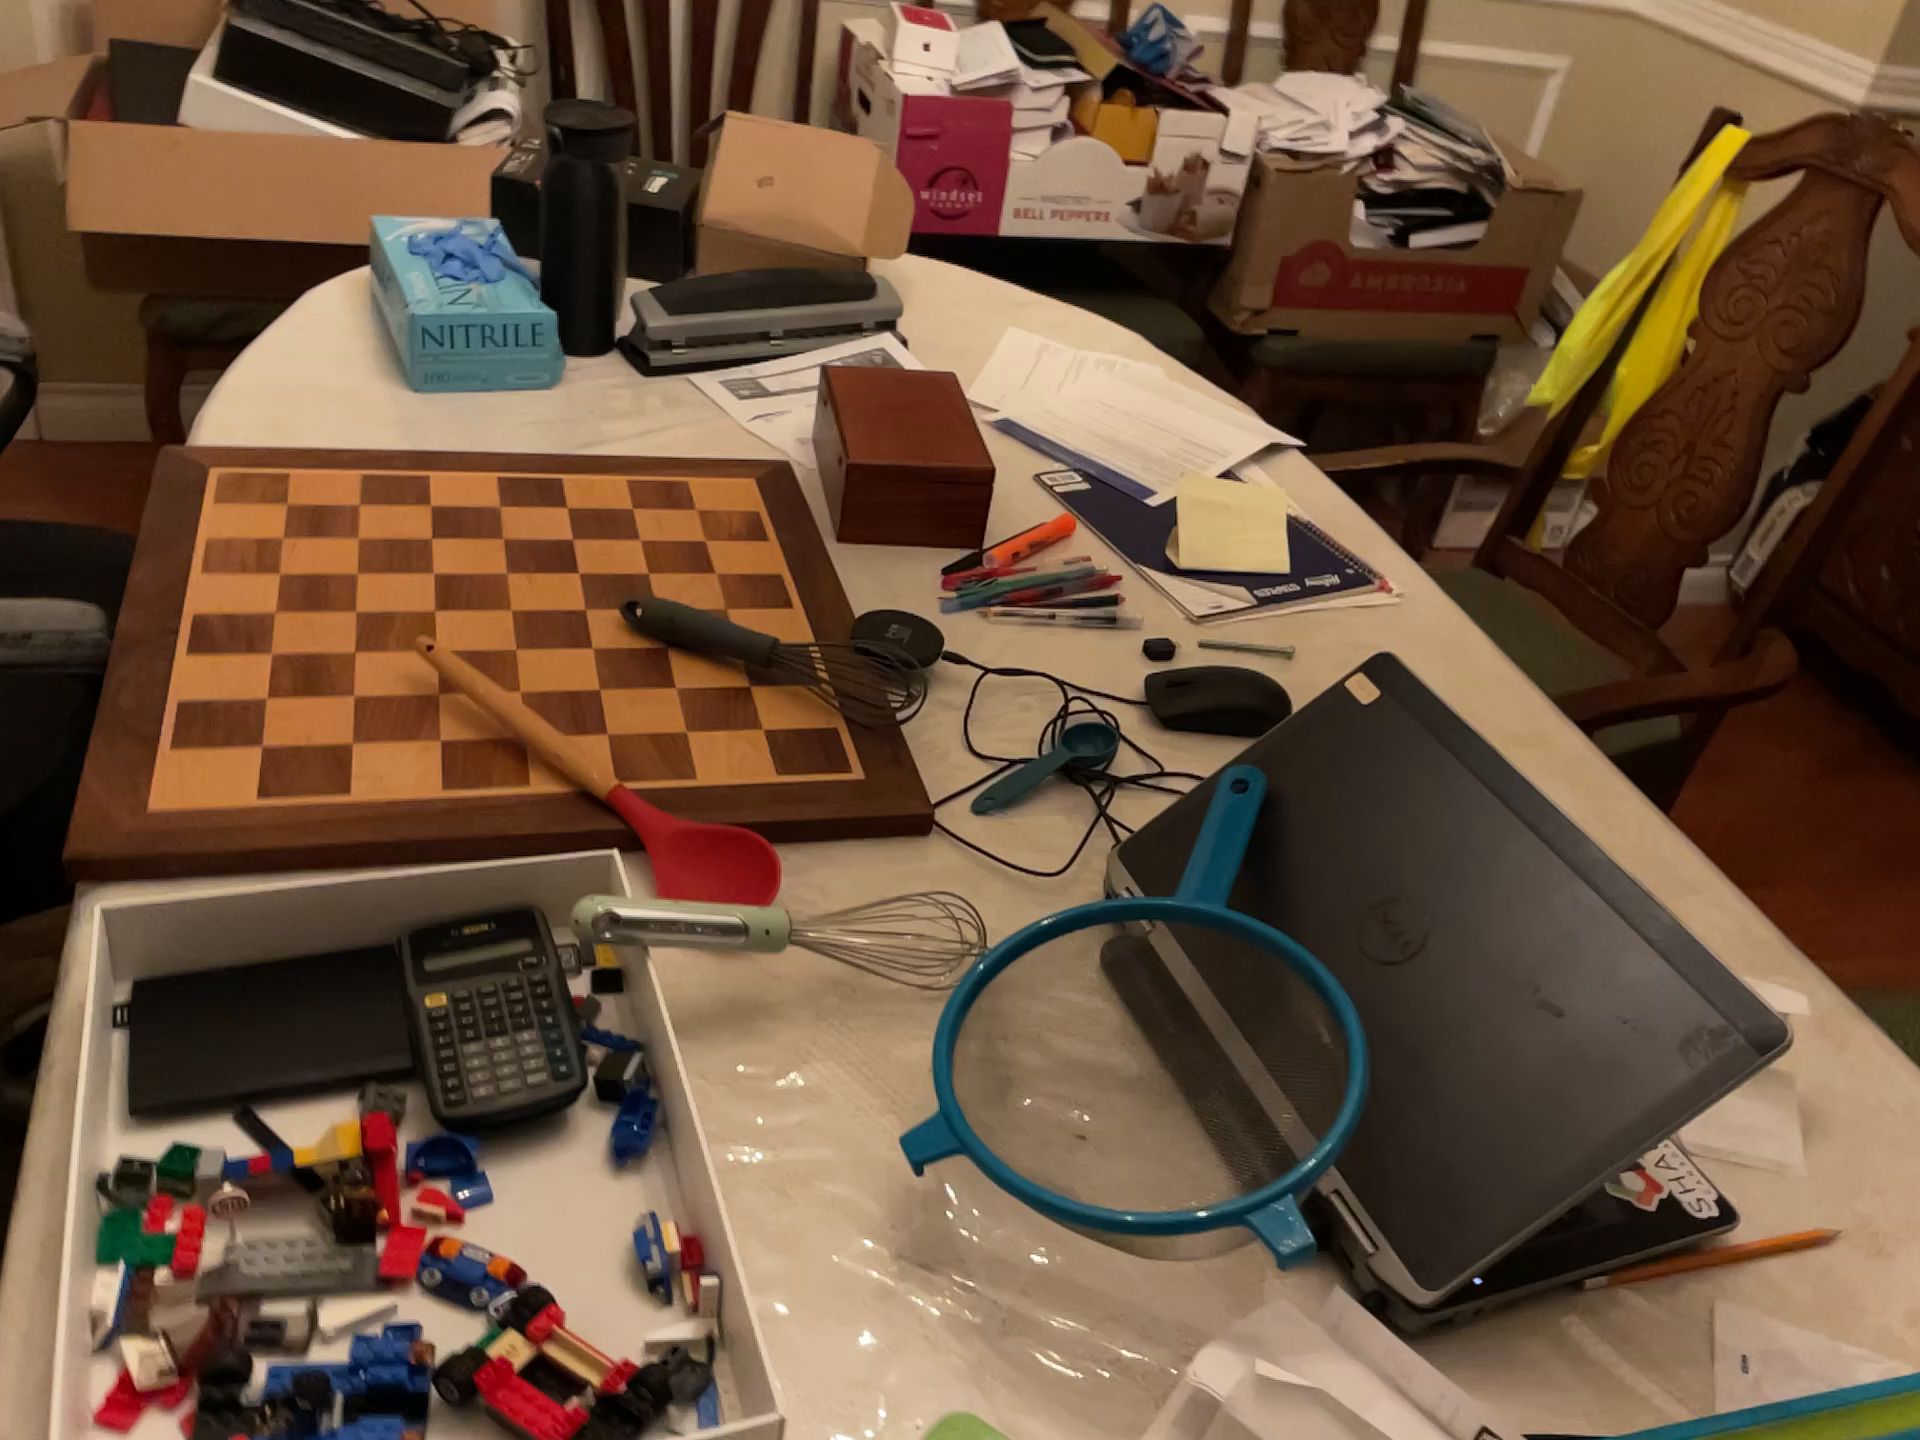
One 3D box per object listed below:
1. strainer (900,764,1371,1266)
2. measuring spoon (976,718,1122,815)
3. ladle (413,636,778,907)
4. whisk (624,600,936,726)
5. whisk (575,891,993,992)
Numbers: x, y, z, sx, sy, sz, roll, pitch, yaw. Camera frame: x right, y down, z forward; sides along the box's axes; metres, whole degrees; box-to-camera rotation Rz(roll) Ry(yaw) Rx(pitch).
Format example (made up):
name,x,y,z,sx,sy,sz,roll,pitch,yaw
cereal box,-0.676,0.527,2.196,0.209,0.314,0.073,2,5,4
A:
name,x,y,z,sx,sy,sz,roll,pitch,yaw
strainer,0.118,0.155,0.846,0.211,0.095,0.340,8,37,20
measuring spoon,0.060,0.038,1.083,0.128,0.021,0.042,-32,43,-30
ladle,-0.232,0.030,0.975,0.316,0.031,0.069,34,62,23
whisk,-0.128,-0.045,1.104,0.239,0.055,0.055,17,20,16
whisk,-0.087,0.116,0.863,0.246,0.058,0.059,8,1,-29
